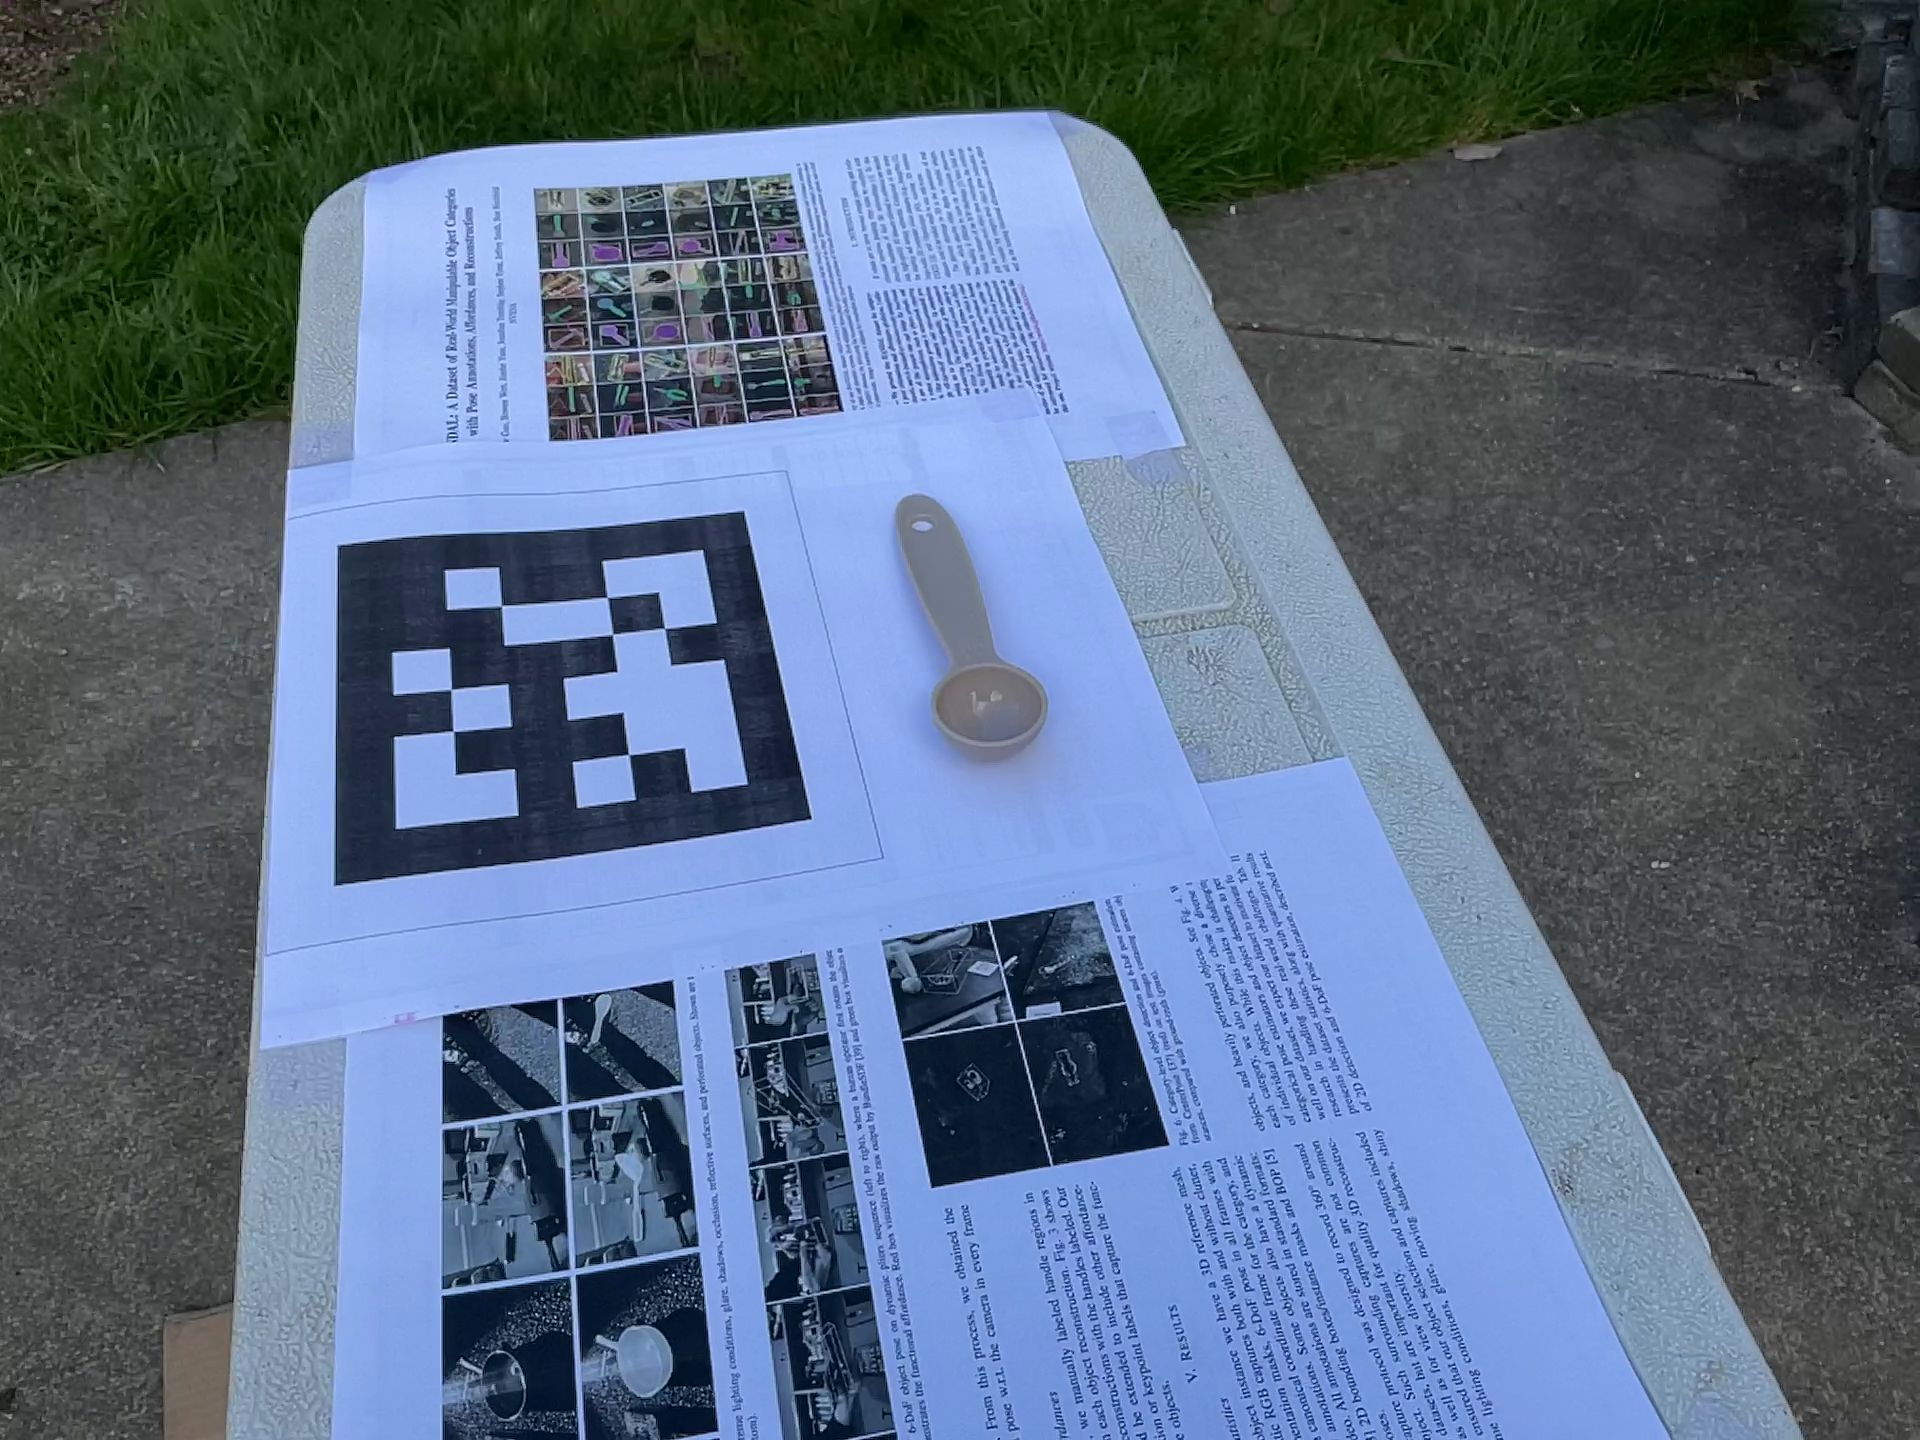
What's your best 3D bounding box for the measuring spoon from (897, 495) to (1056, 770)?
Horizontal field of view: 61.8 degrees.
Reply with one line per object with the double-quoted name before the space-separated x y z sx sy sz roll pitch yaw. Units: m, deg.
"measuring spoon" 0.000 -0.028 0.487 0.034 0.018 0.124 -10 44 -9
